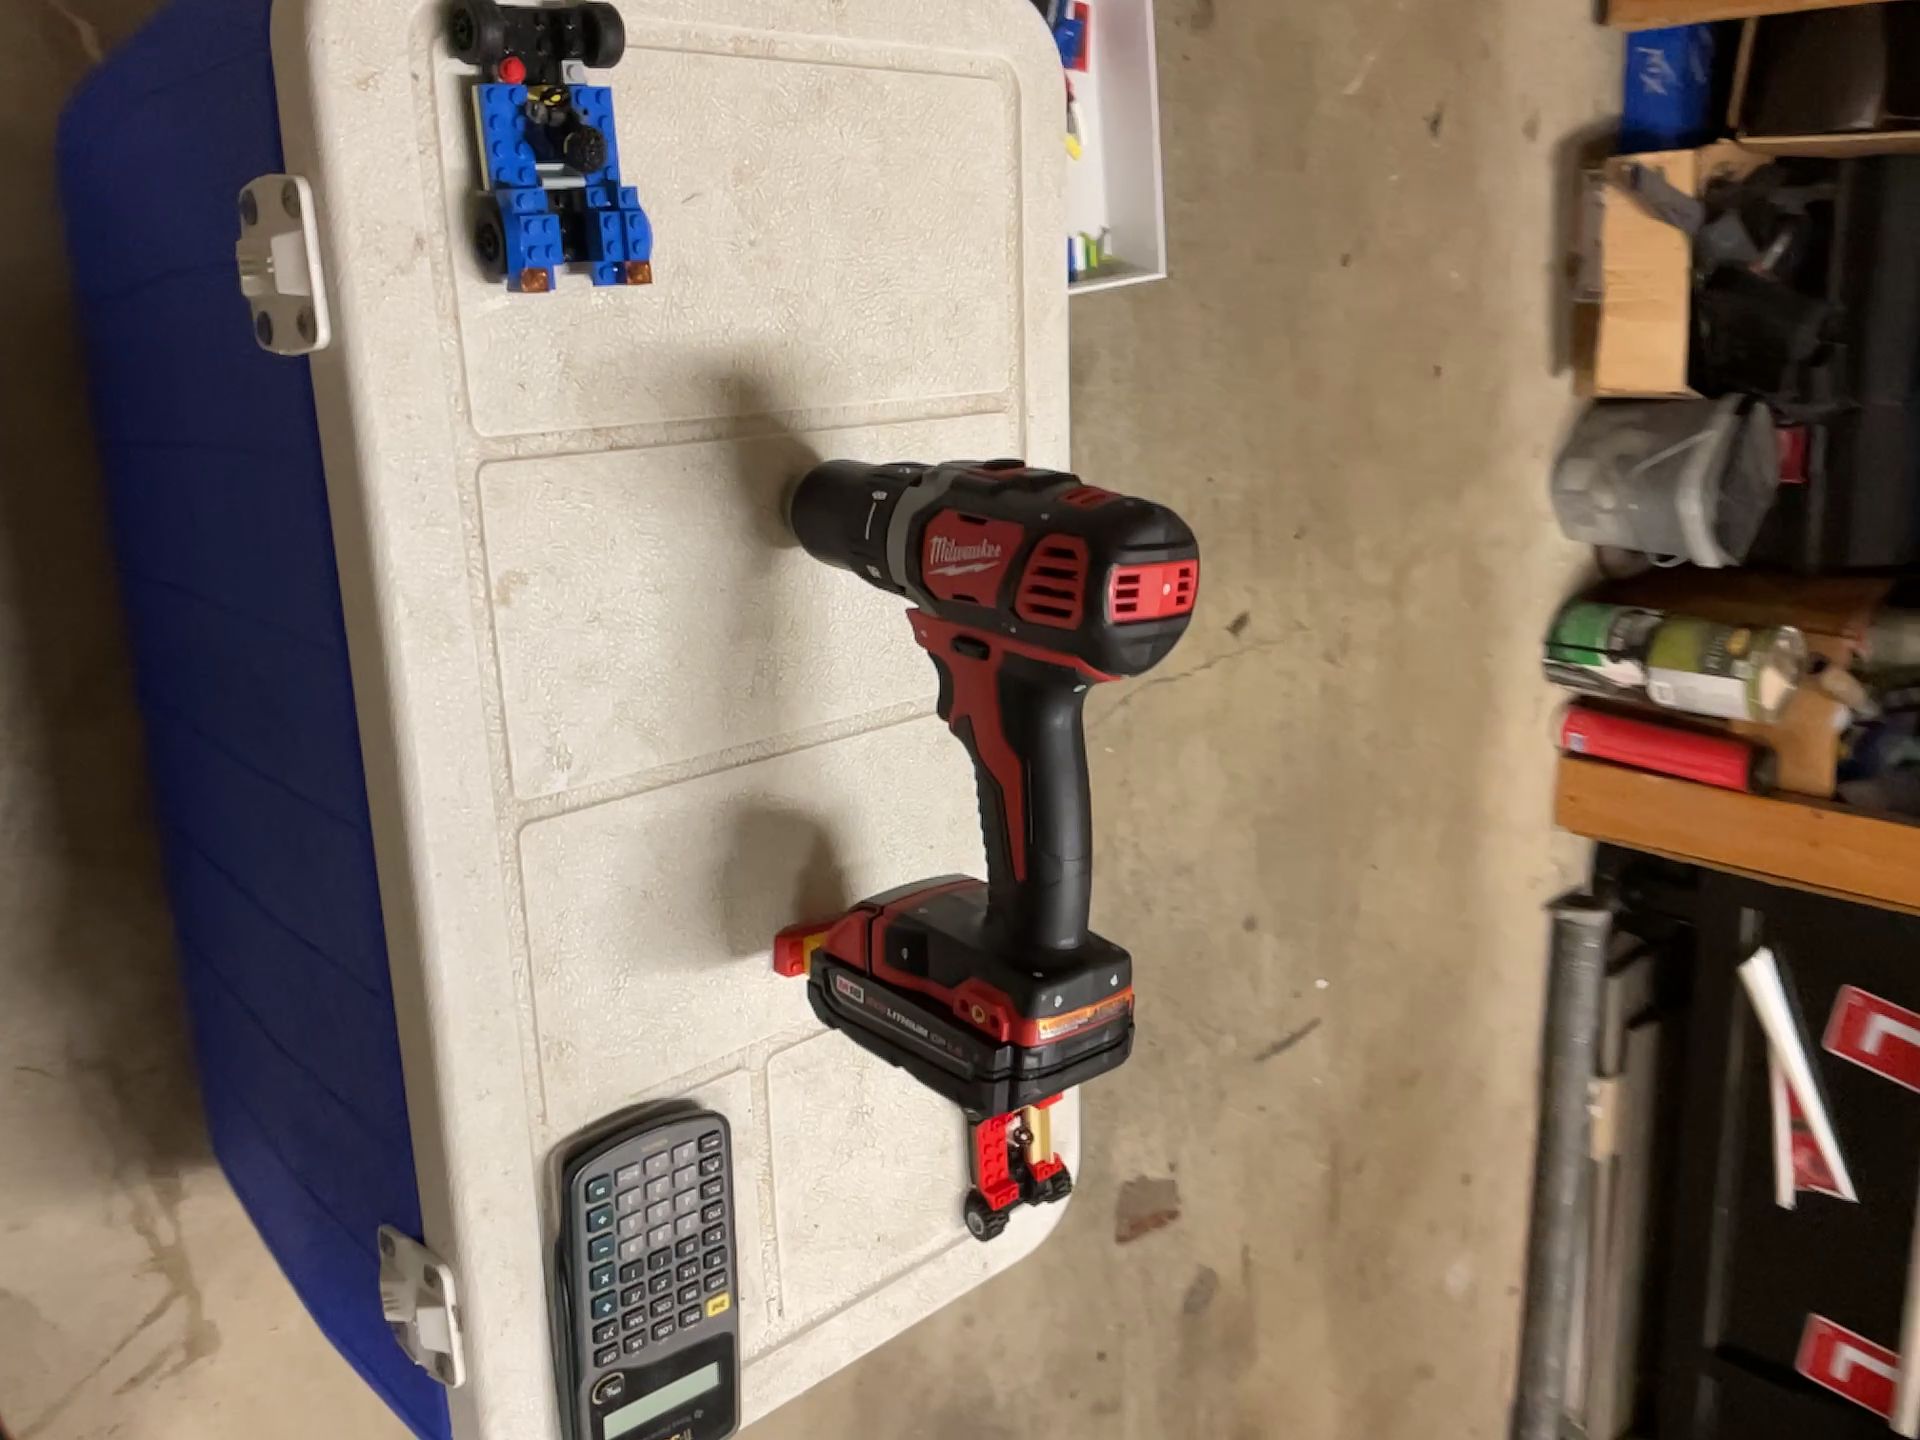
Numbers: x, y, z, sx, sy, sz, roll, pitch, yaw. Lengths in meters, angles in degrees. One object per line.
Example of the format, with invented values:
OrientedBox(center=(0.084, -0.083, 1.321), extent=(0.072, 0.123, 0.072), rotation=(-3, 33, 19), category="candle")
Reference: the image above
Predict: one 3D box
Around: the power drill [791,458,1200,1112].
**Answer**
OrientedBox(center=(-0.003, 0.011, 0.611), extent=(0.080, 0.188, 0.226), rotation=(-10, 111, -42), category="power drill")
